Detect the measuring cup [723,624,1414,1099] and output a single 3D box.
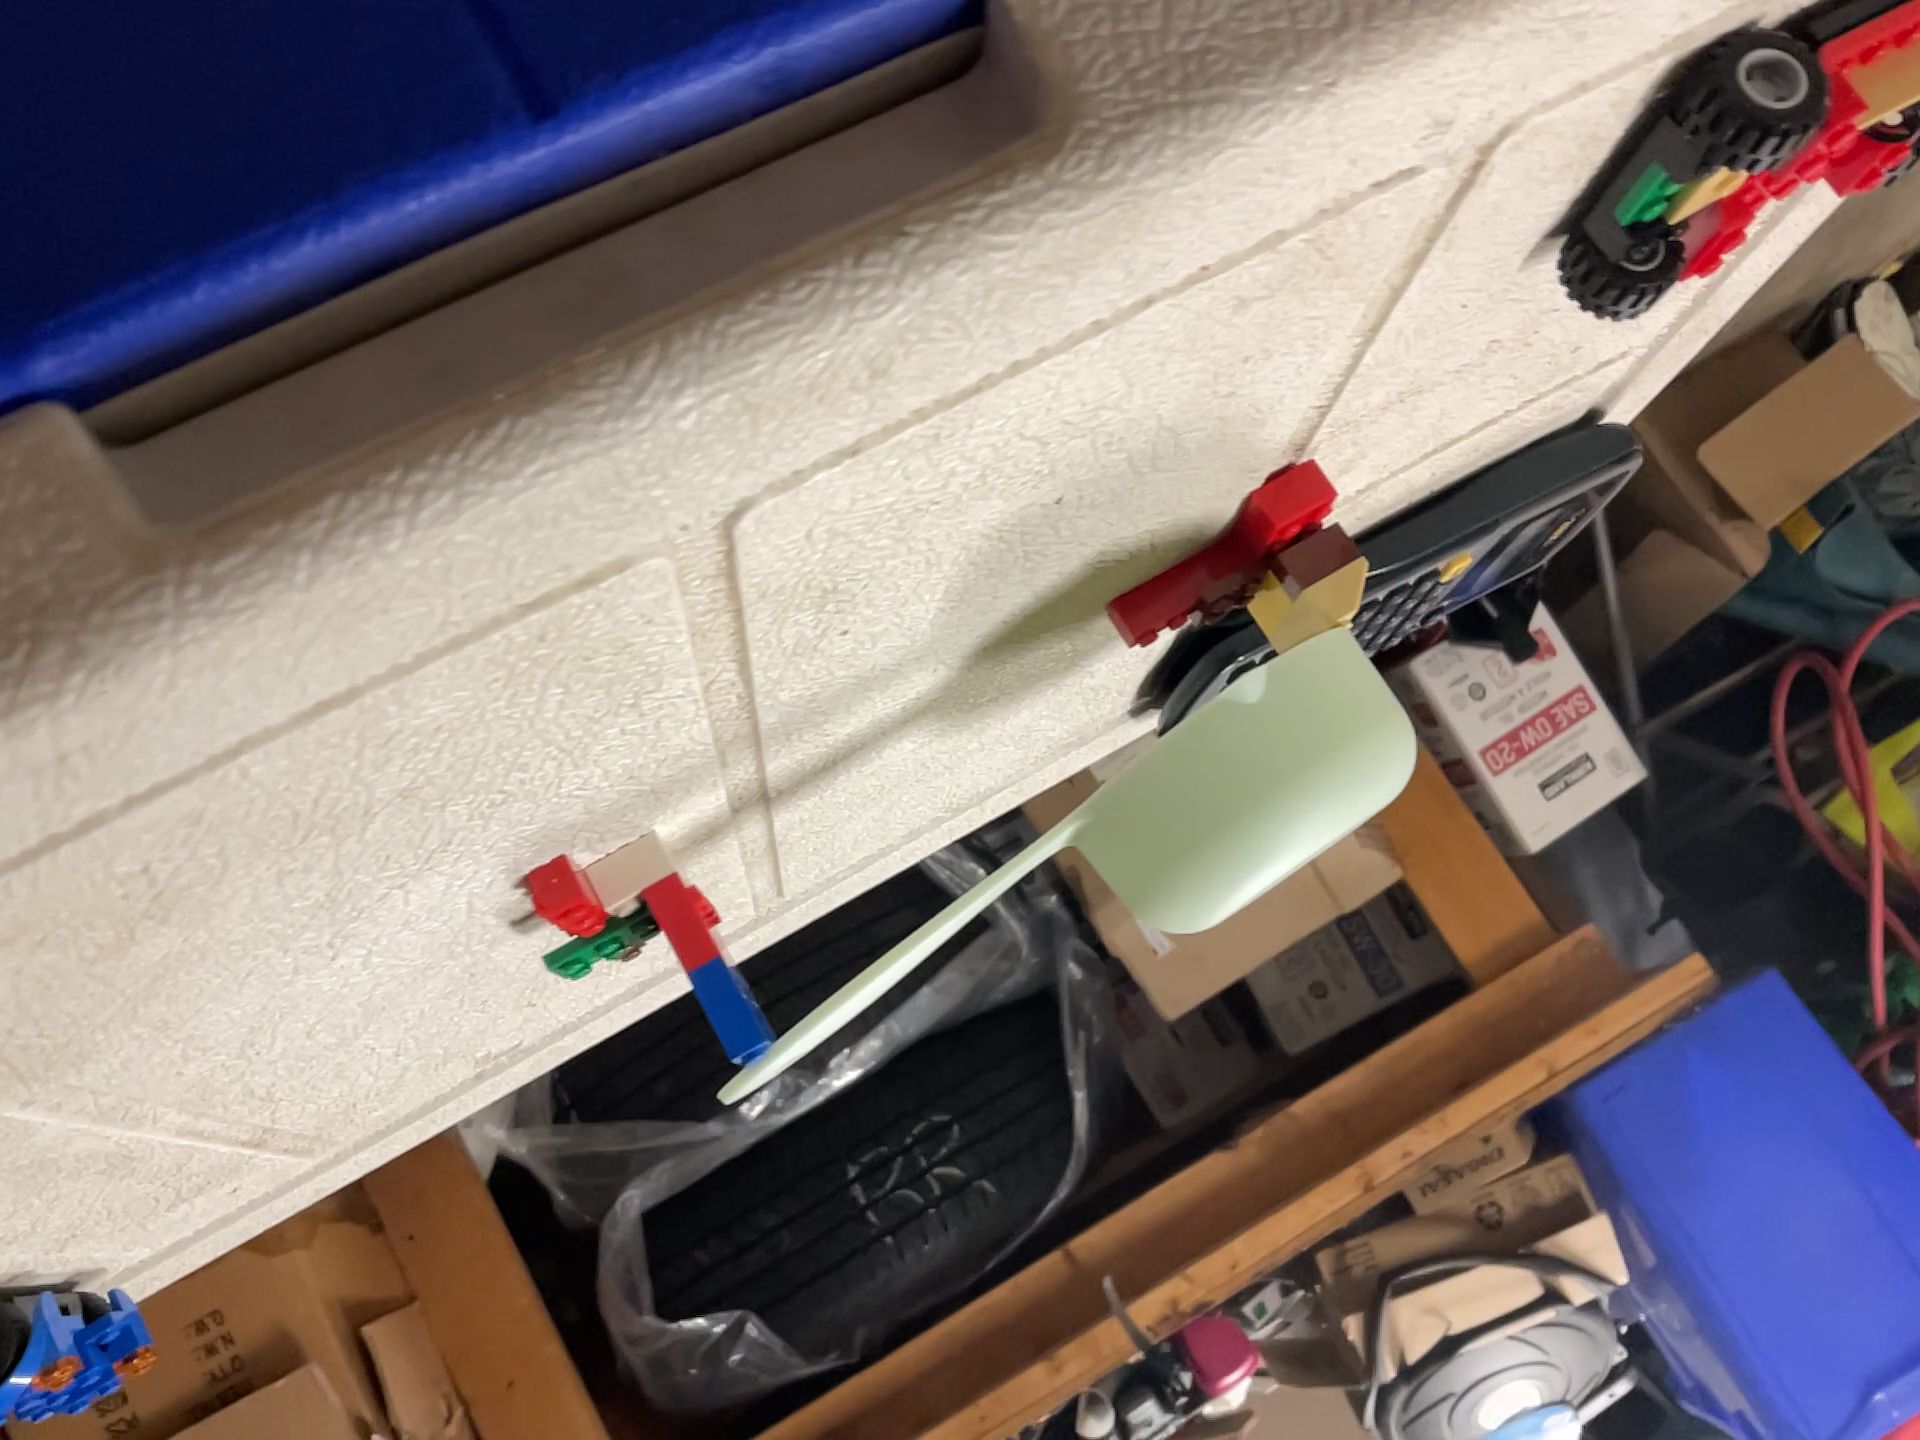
[{"bbox_3d":[0.028,0.041,0.344,0.167,0.038,0.083,-35,168,-12],"label":"measuring cup"}]
